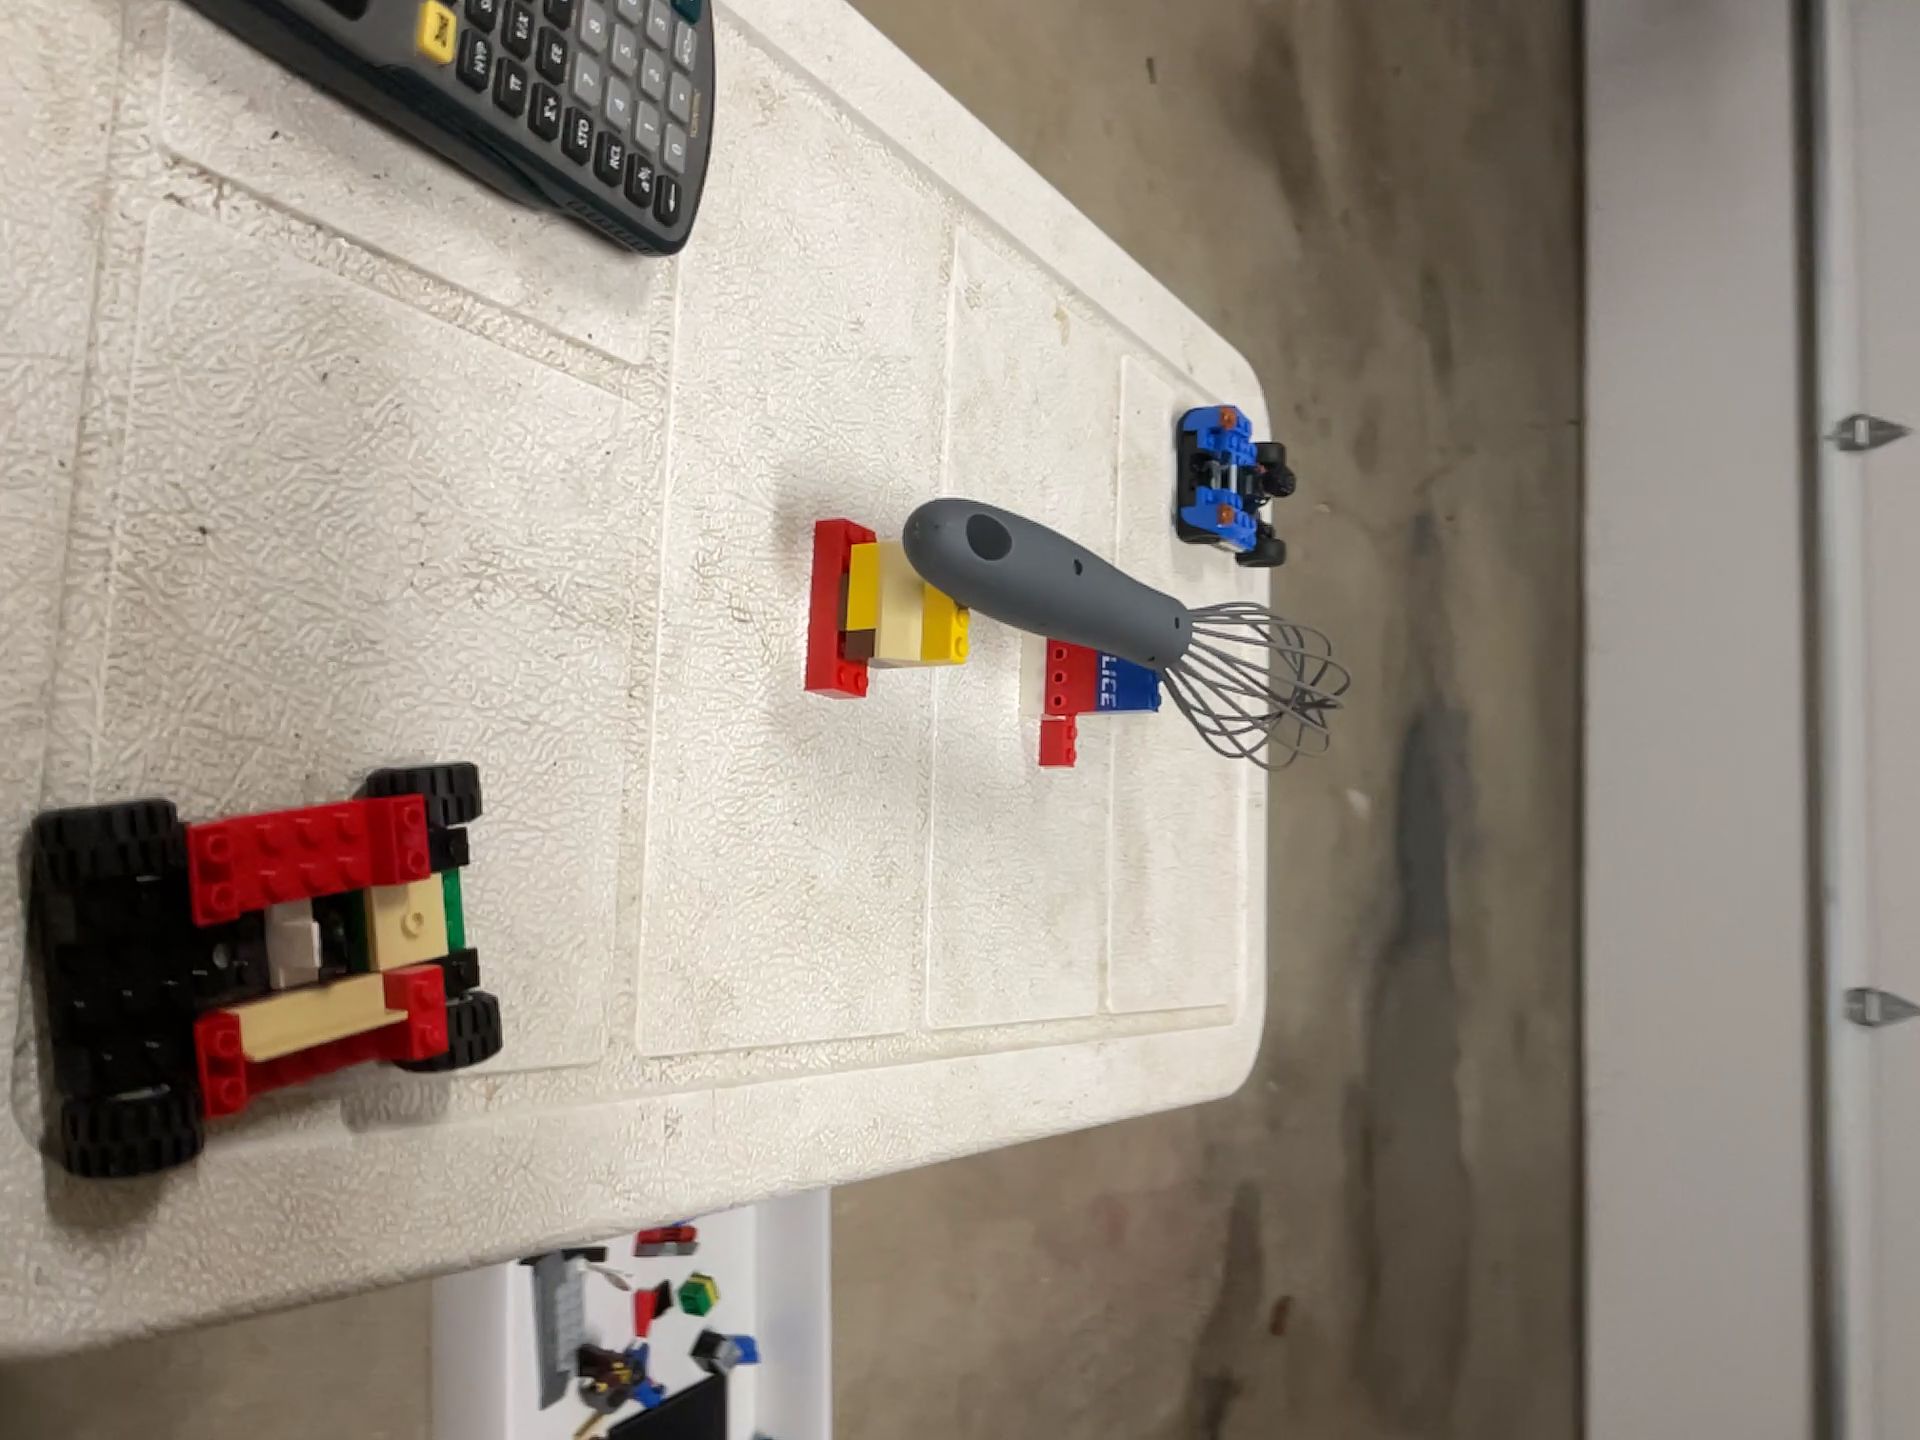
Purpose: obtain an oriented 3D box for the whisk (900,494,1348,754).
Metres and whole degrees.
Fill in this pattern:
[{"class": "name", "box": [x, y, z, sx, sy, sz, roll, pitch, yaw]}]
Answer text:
[{"class": "whisk", "box": [0.057, -0.028, 0.483, 0.239, 0.055, 0.055, 17, 71, -53]}]
